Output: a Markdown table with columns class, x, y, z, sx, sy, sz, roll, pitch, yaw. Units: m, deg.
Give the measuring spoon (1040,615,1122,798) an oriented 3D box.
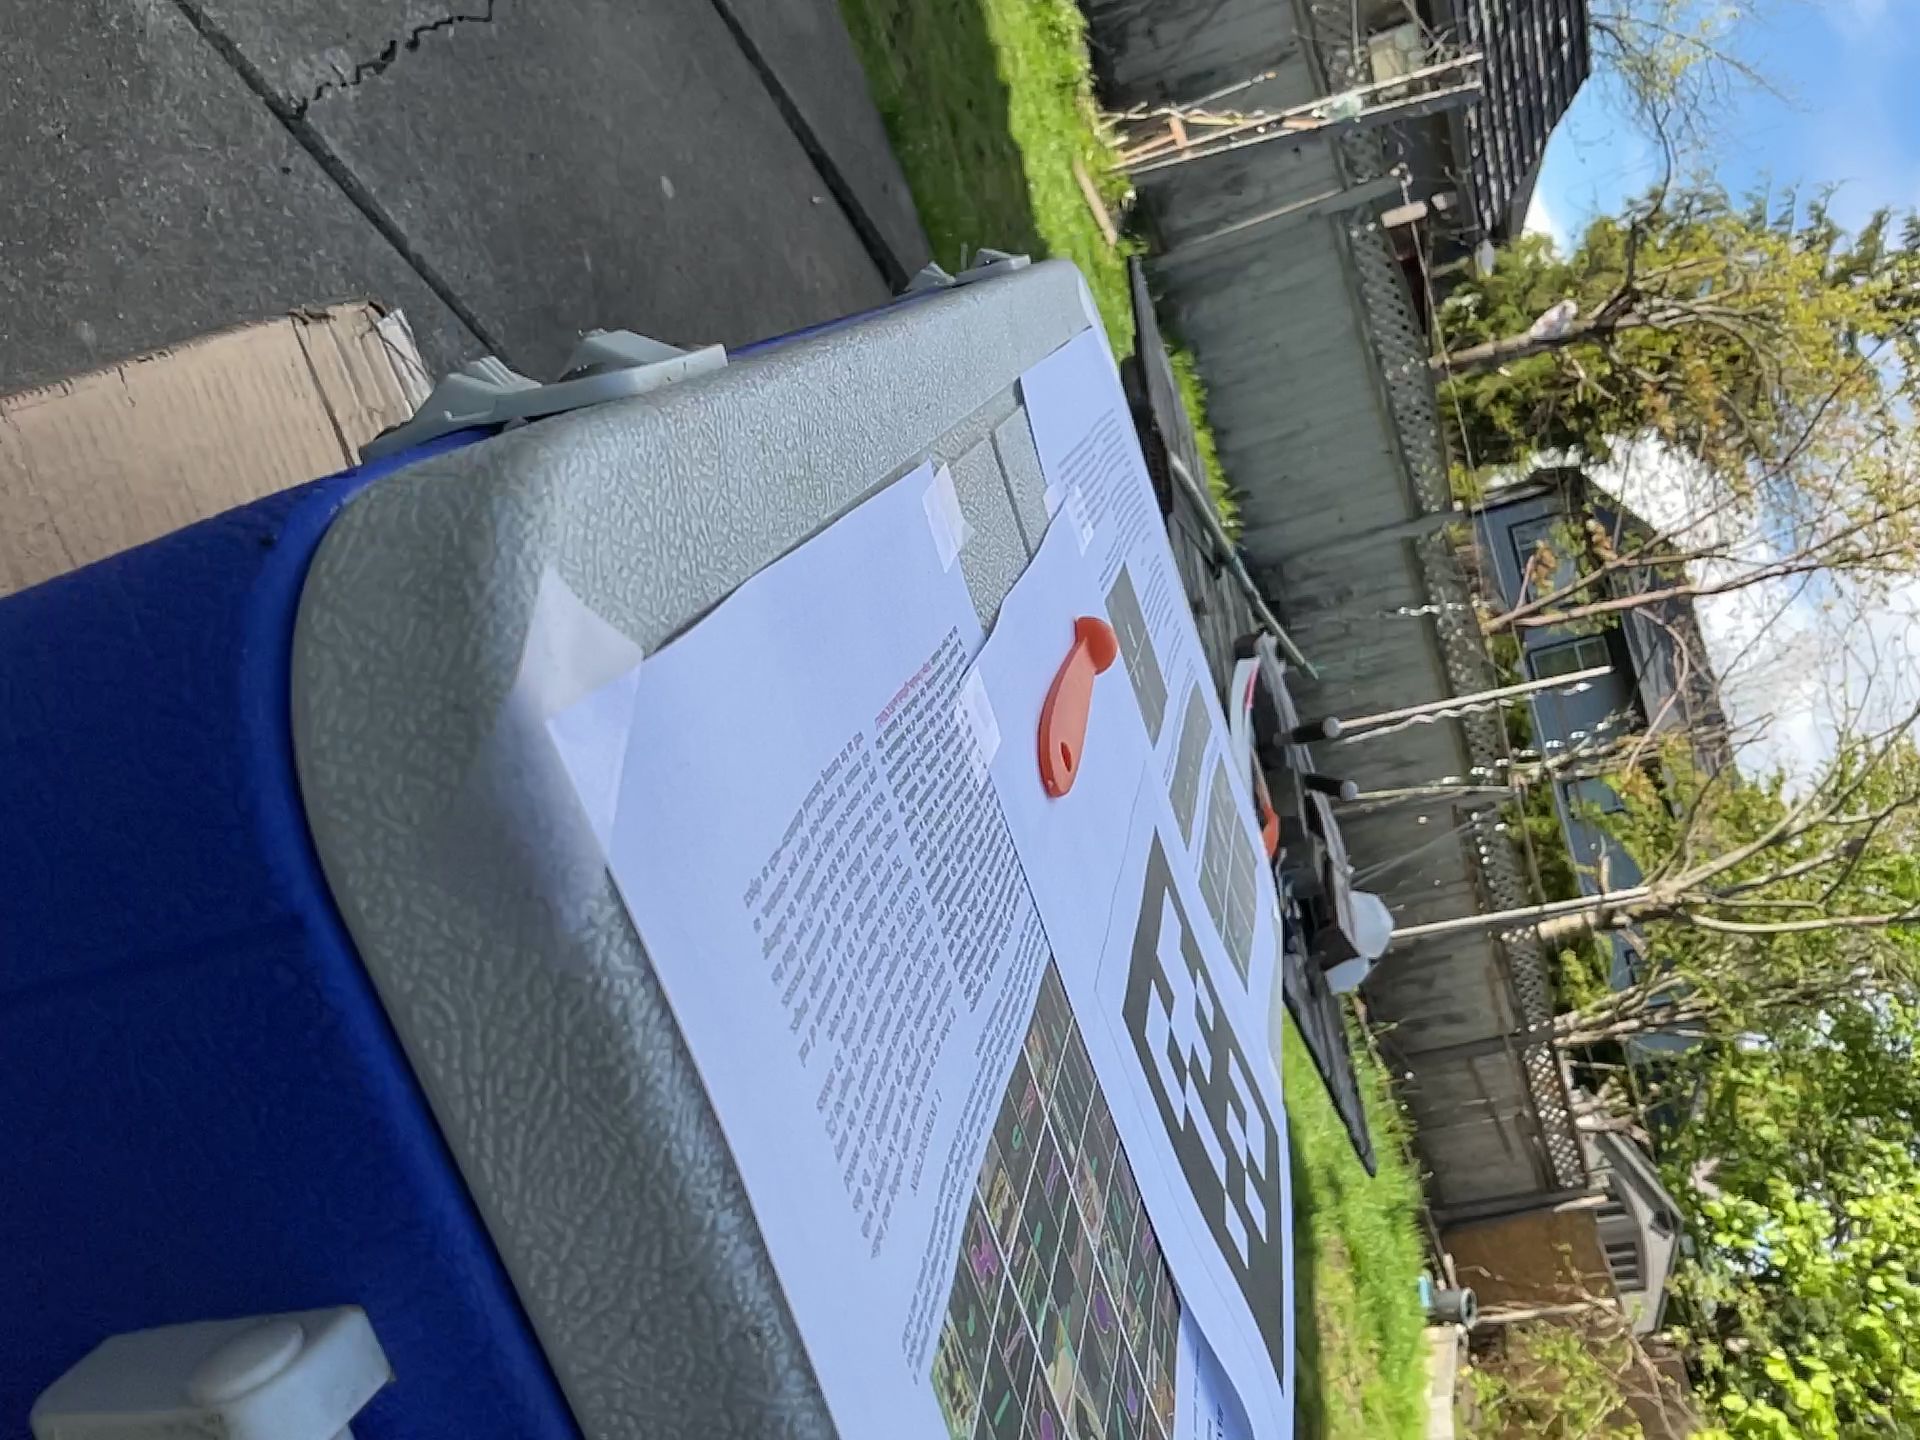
| class | x | y | z | sx | sy | sz | roll | pitch | yaw |
| --- | --- | --- | --- | --- | --- | --- | --- | --- | --- |
| measuring spoon | 0.037 | -0.007 | 0.466 | 0.021 | 0.011 | 0.117 | 64 | 19 | -16 |
